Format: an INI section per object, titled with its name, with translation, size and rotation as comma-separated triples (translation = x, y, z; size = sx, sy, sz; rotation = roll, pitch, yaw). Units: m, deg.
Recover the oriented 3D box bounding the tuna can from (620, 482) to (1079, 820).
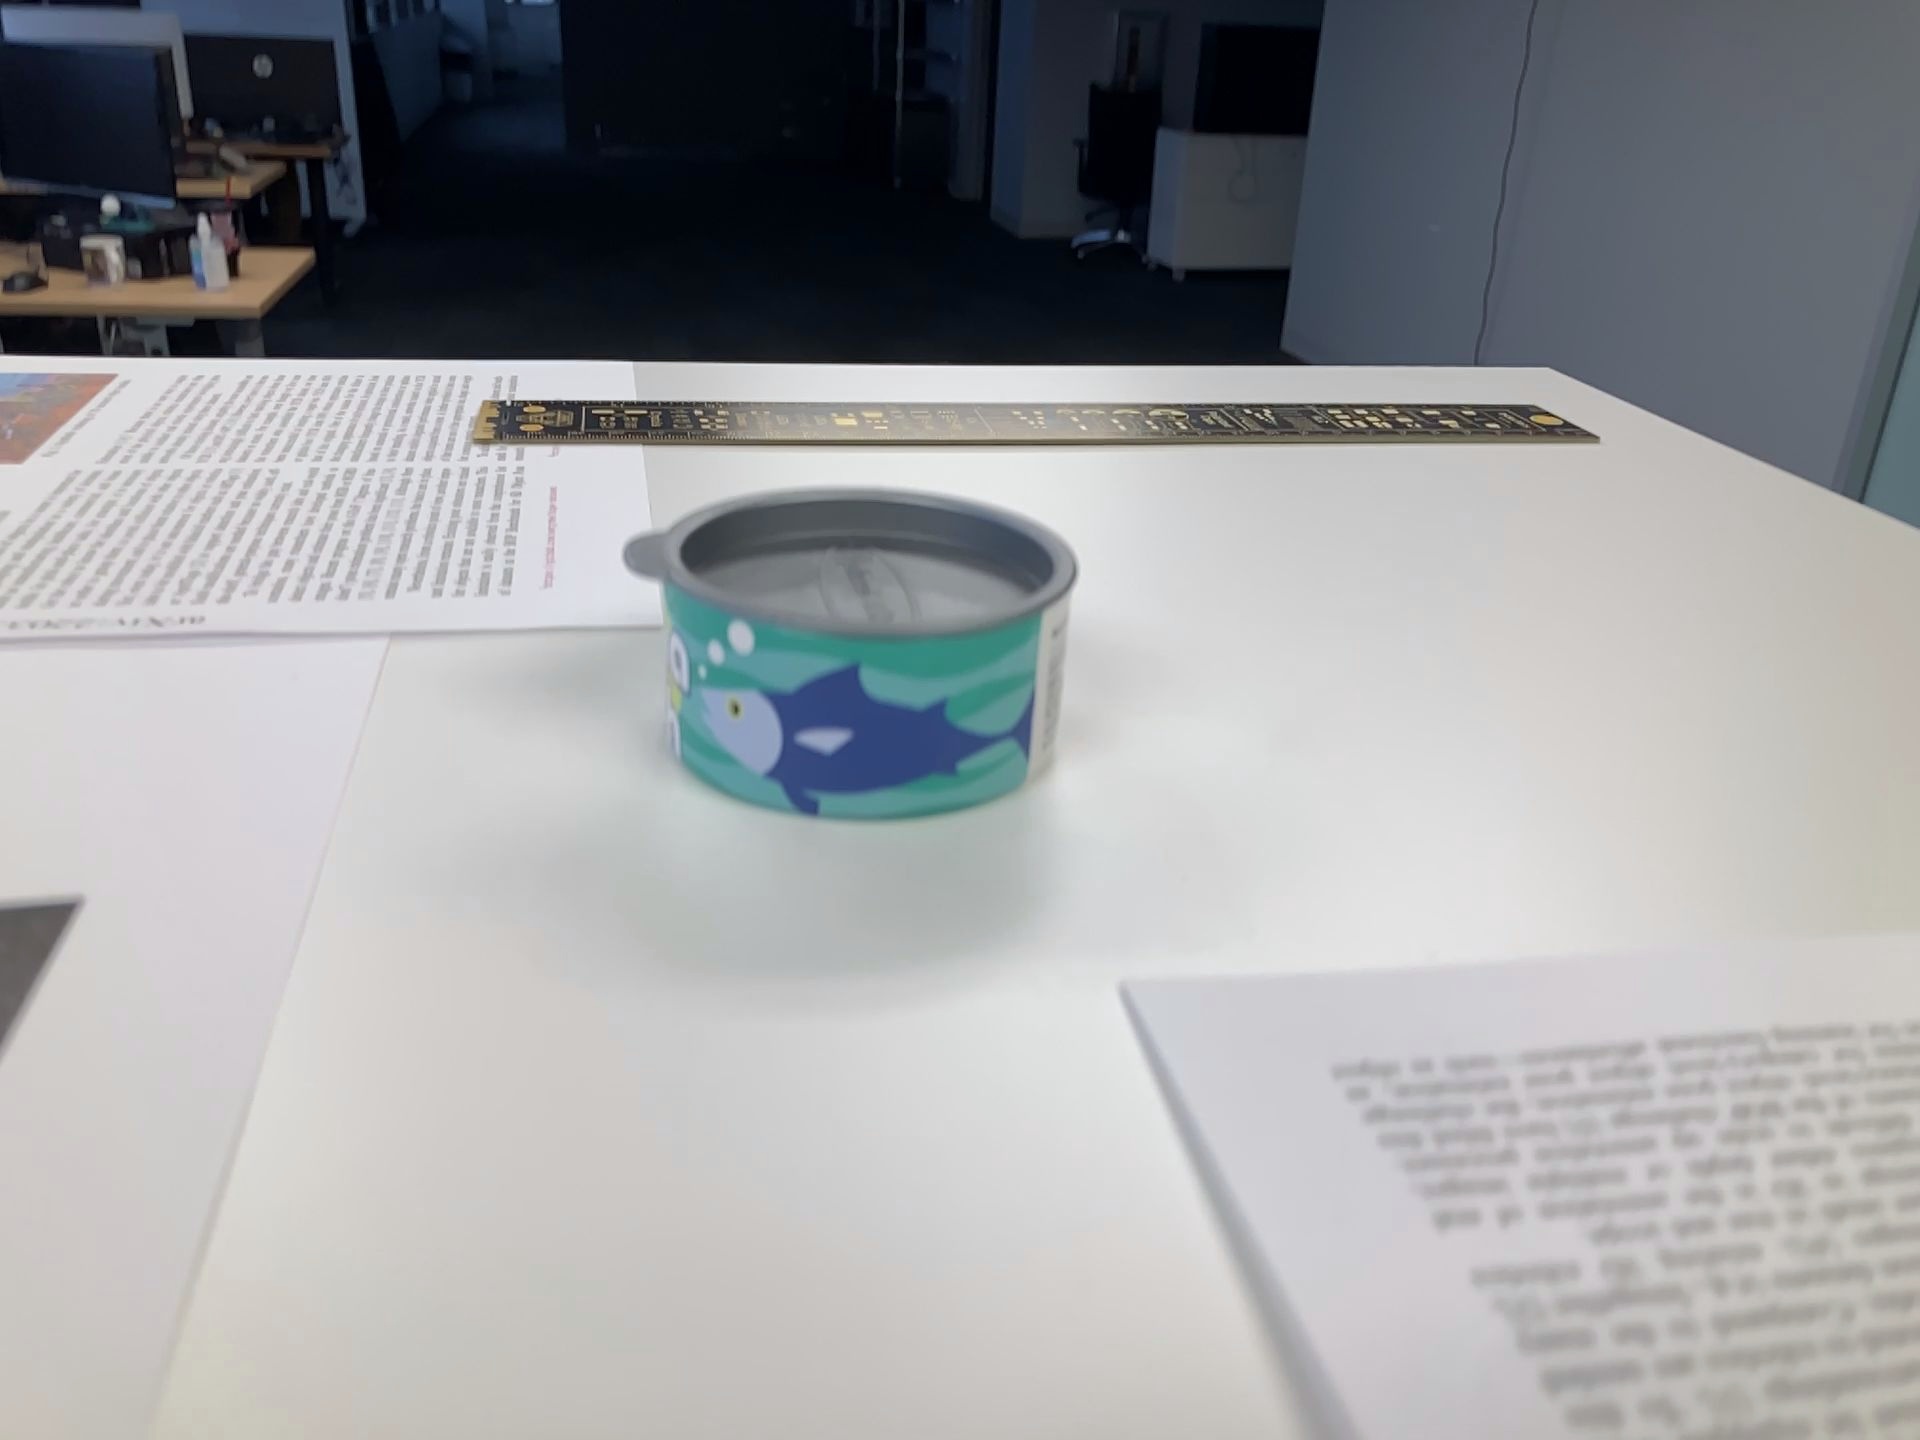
[tuna can]
translation = -0.018, -0.013, 0.254
size = 0.071, 0.033, 0.071
rotation = 3, 25, -1
